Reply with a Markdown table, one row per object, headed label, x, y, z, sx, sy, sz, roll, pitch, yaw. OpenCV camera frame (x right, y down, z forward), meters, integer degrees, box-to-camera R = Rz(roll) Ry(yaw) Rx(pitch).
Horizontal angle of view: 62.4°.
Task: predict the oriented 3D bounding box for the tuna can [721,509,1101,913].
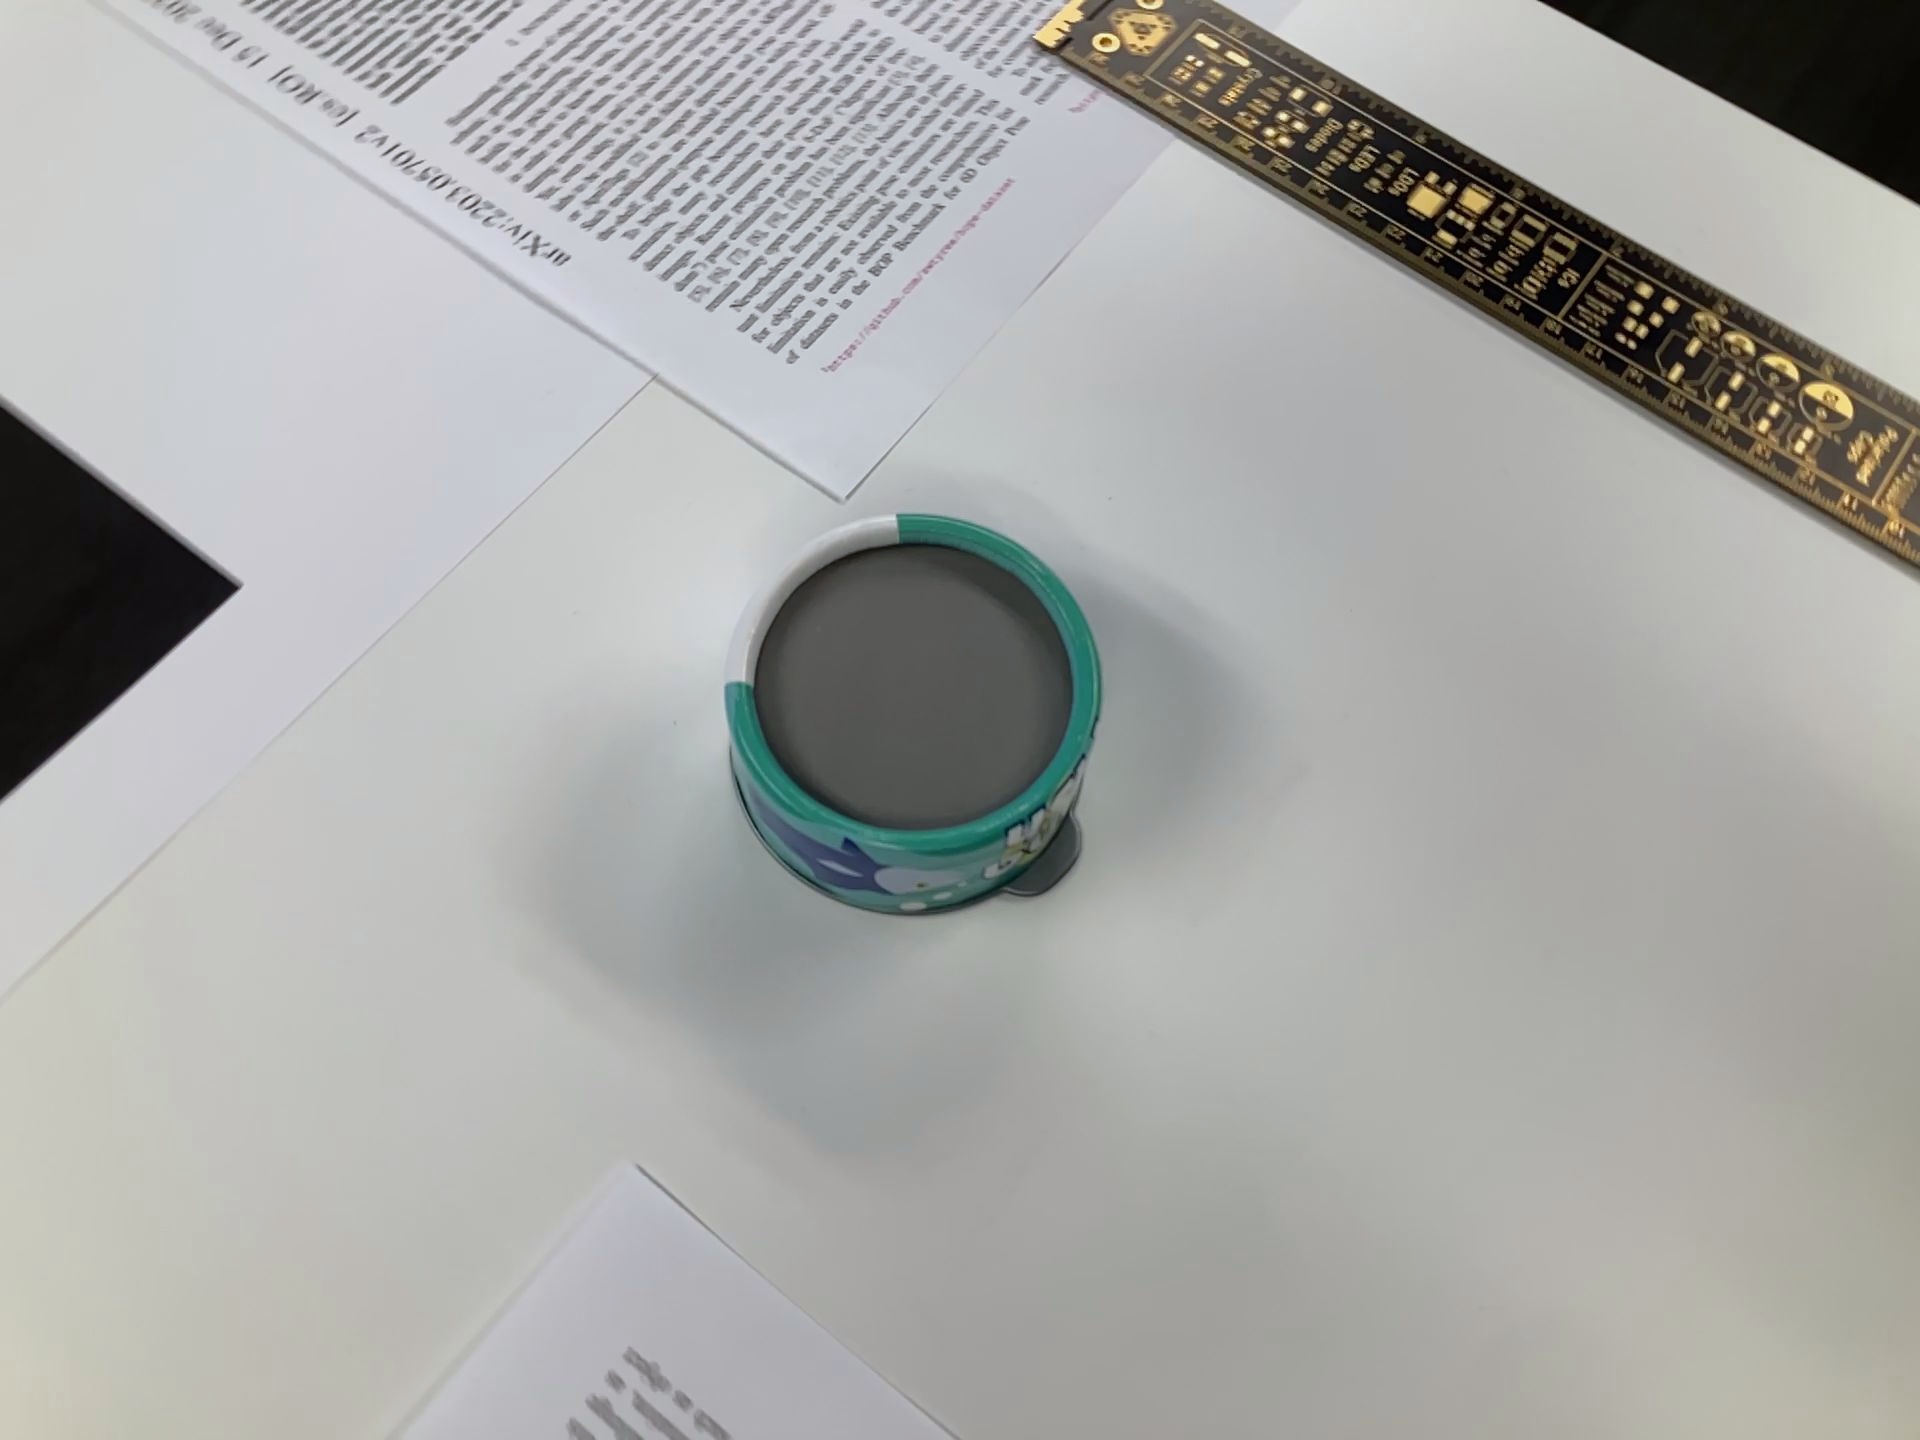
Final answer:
| label | x | y | z | sx | sy | sz | roll | pitch | yaw |
| --- | --- | --- | --- | --- | --- | --- | --- | --- | --- |
| tuna can | -0.007 | 0.000 | 0.282 | 0.071 | 0.033 | 0.071 | 1 | 67 | -3 |
